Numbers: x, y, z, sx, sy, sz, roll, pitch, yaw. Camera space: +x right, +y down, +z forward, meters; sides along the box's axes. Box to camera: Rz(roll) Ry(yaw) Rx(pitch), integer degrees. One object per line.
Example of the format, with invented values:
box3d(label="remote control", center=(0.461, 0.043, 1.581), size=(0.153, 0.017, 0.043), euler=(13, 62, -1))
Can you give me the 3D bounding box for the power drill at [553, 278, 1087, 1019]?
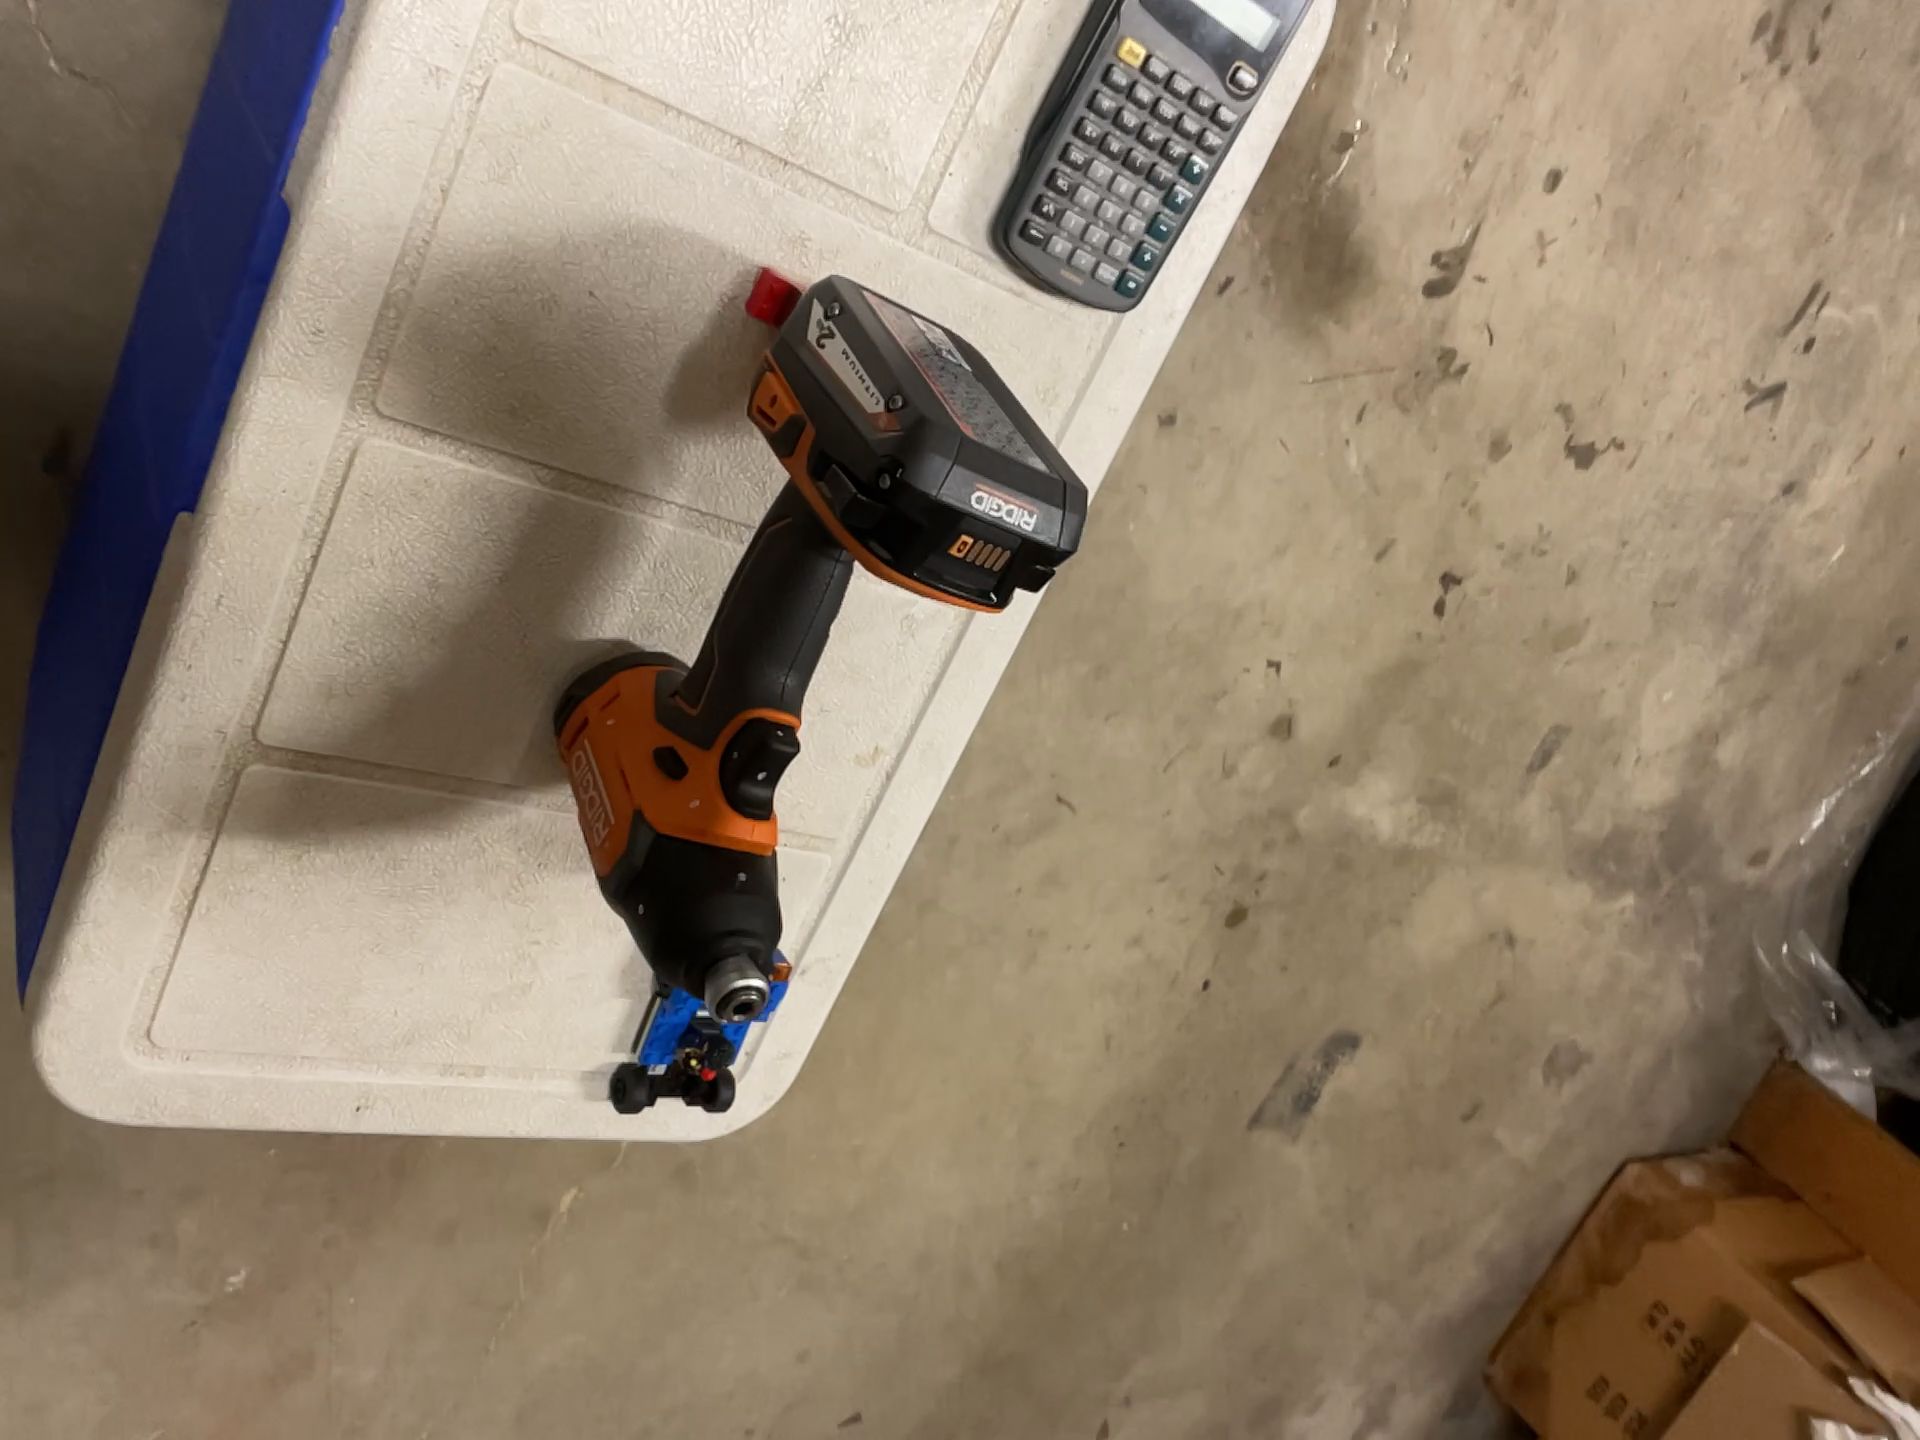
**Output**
box3d(label="power drill", center=(-0.057, -0.017, 0.552), size=(0.084, 0.164, 0.226), euler=(17, 120, -39))
